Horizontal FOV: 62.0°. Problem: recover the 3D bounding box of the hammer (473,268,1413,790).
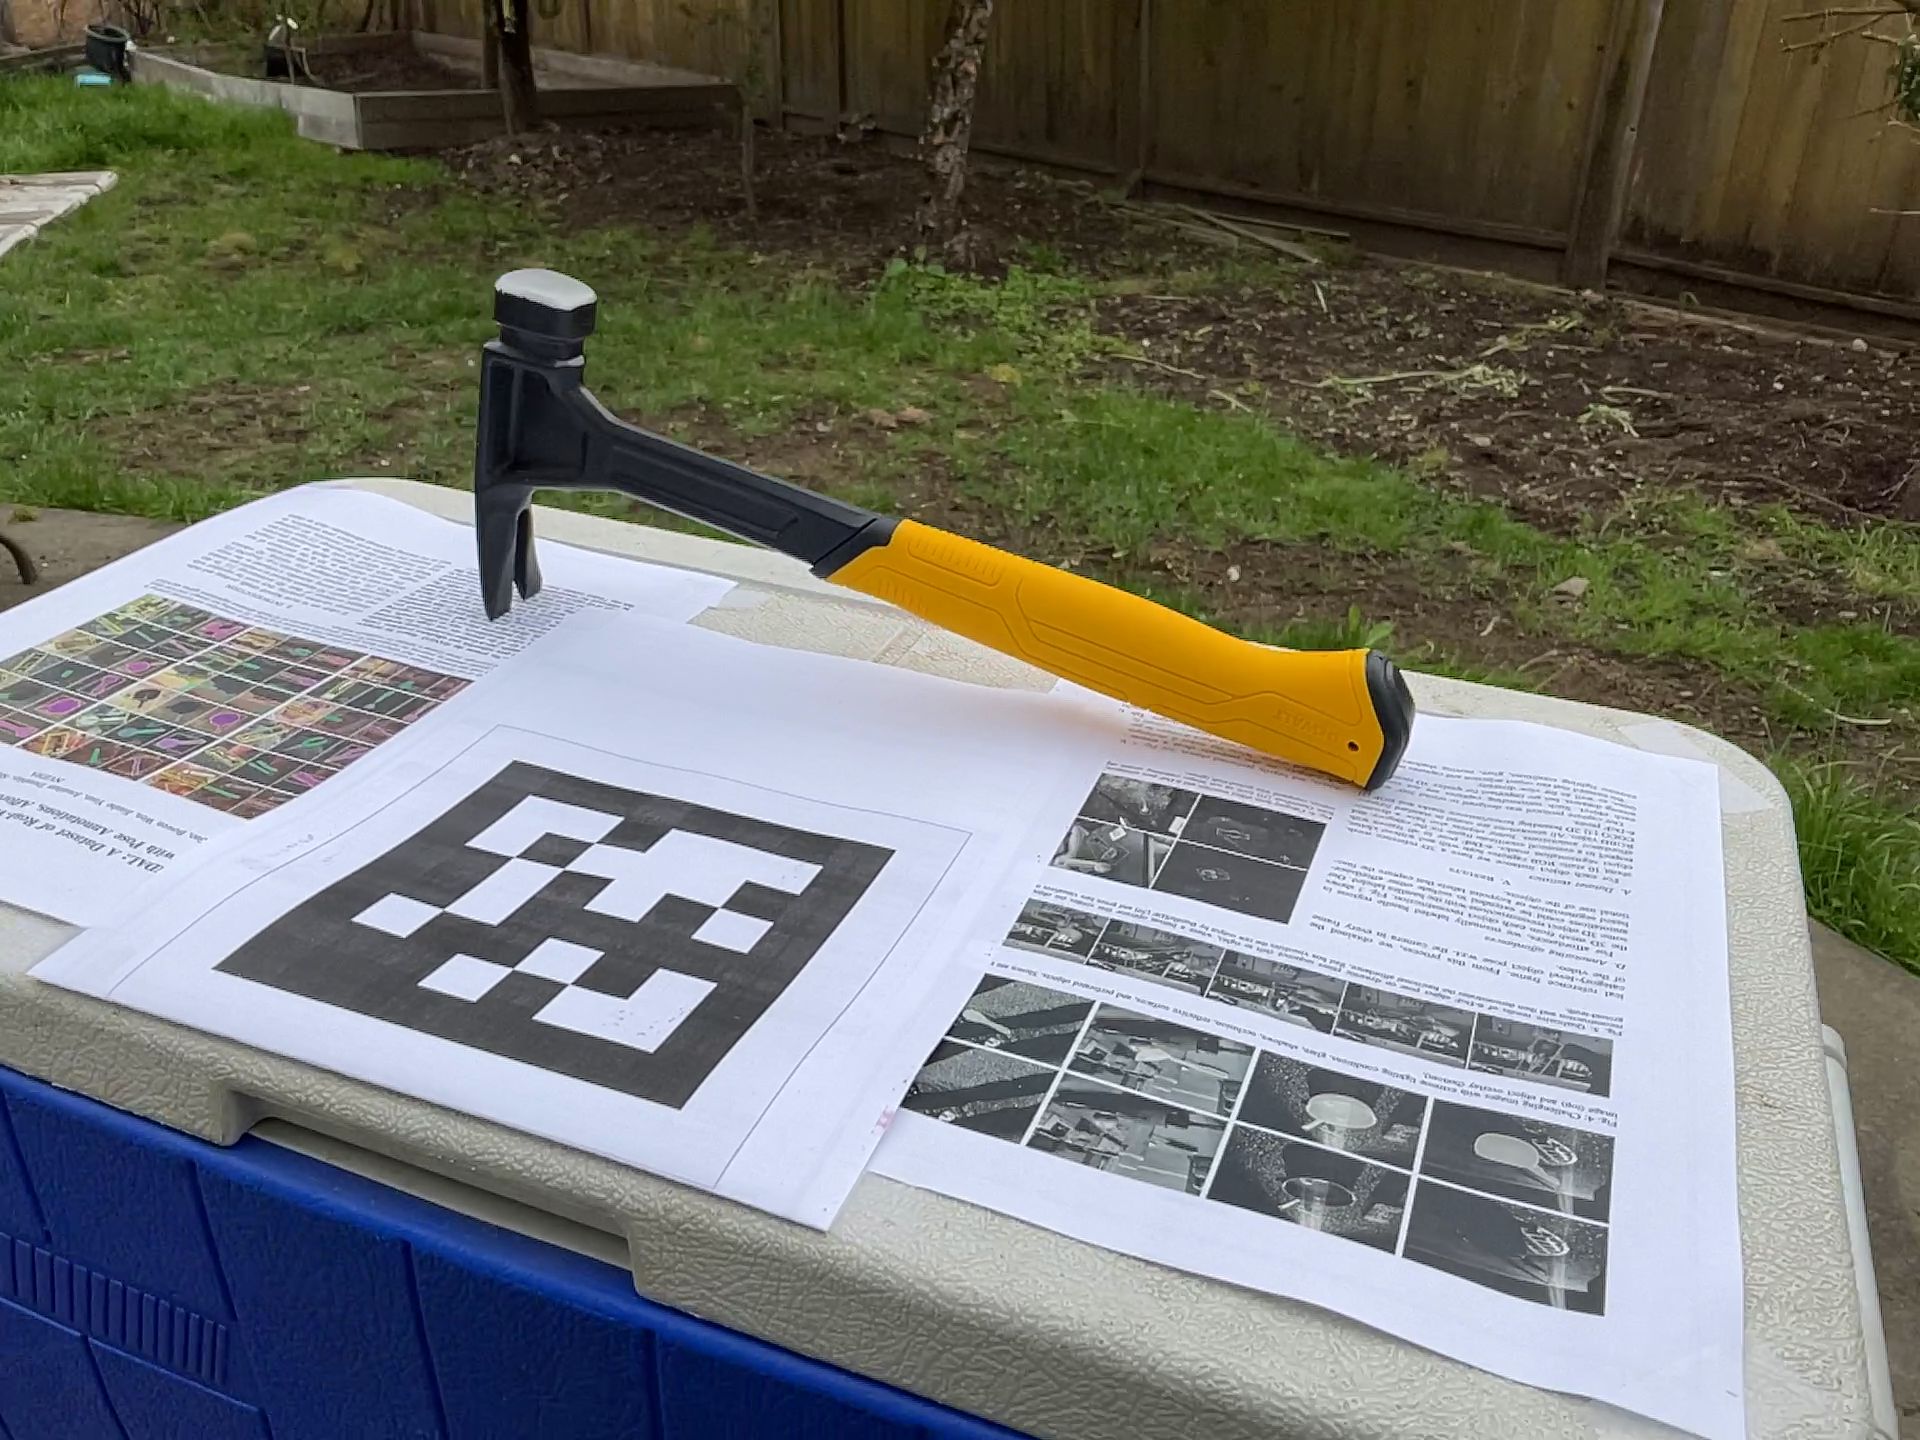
[{"bbox_3d":[-0.016,-0.044,0.543,0.337,0.127,0.034,21,31,12],"label":"hammer"}]
